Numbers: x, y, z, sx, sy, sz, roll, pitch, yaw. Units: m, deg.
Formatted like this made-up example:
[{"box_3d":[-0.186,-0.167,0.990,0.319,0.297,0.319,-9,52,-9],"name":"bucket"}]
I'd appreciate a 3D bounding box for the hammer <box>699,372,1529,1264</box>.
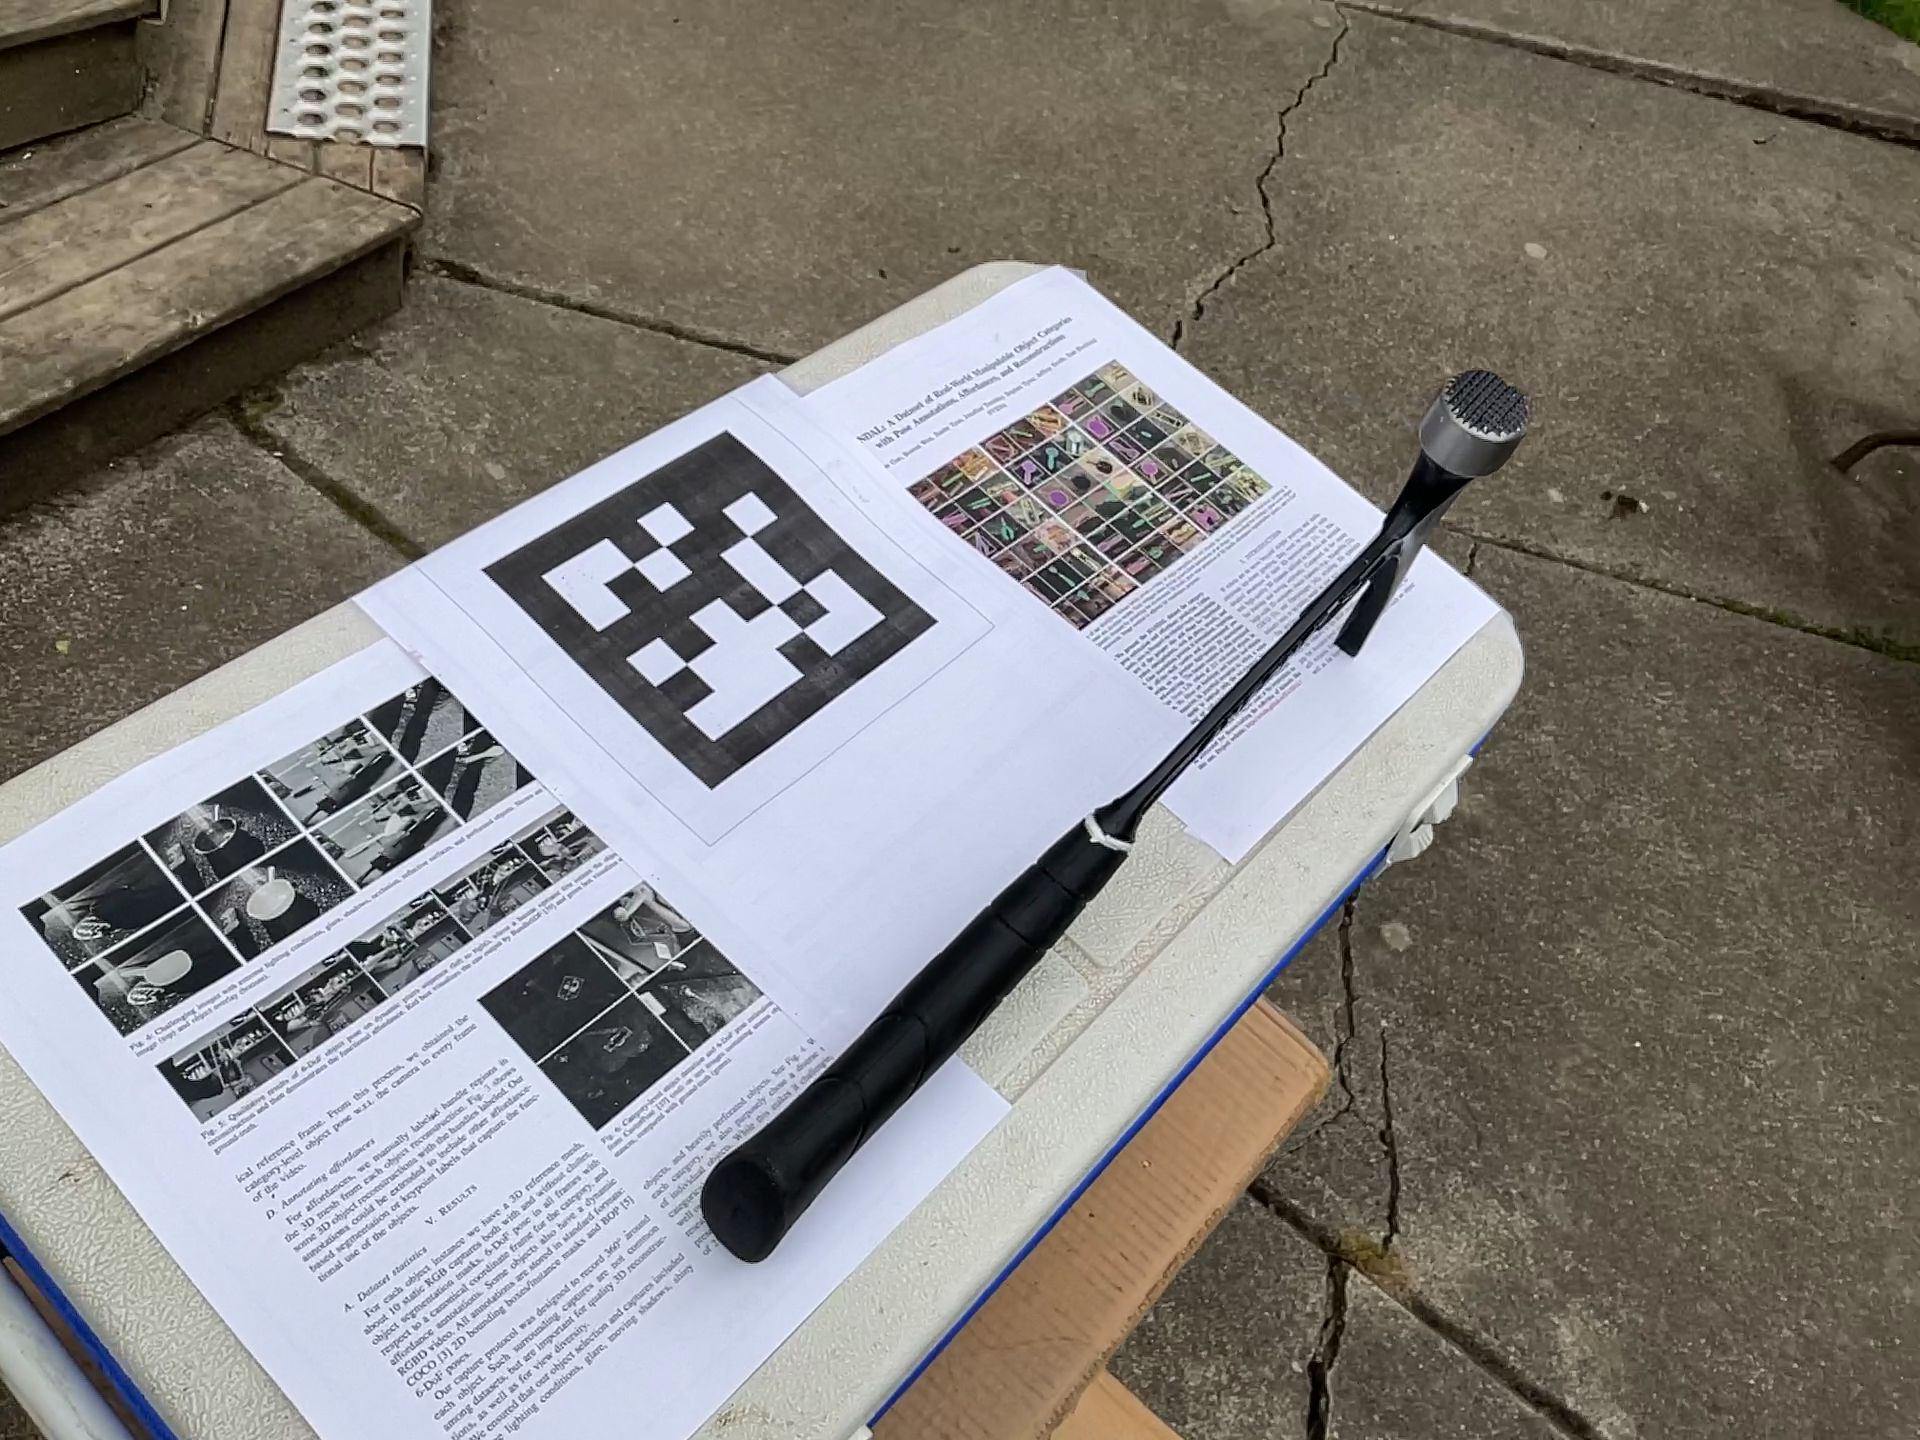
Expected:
[{"box_3d":[0.062,0.031,0.573,0.036,0.149,0.409,41,63,13],"name":"hammer"}]
